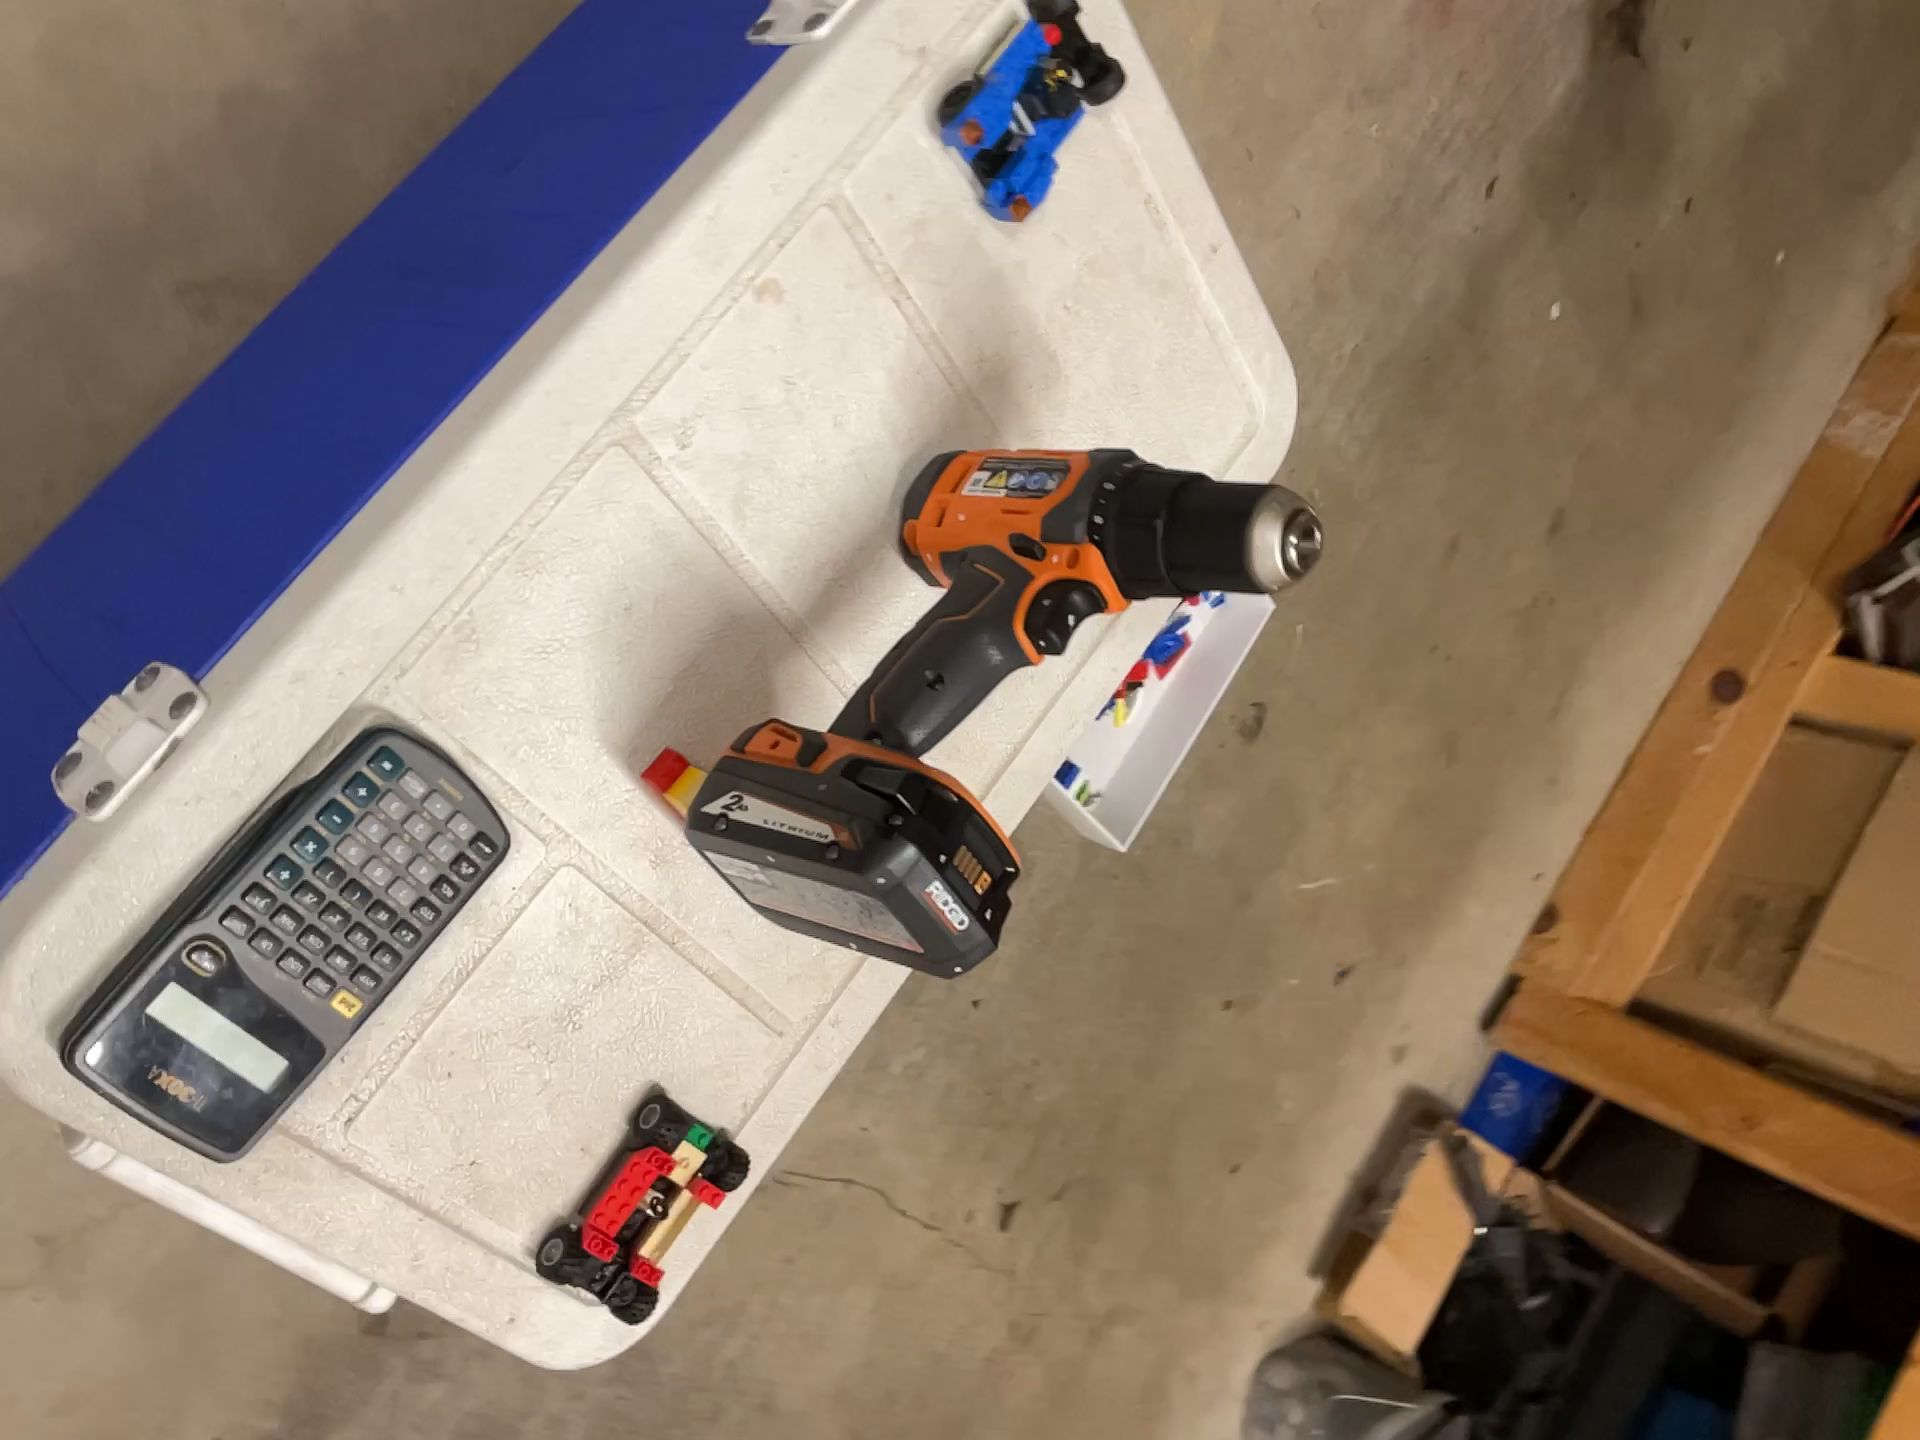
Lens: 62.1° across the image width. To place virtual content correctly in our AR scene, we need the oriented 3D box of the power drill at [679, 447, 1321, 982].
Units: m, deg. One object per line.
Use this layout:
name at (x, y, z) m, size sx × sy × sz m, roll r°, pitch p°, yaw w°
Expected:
power drill at (0.019, -0.016, 0.611) m, size 0.226 × 0.185 × 0.084 m, roll -57°, pitch 135°, yaw -25°
